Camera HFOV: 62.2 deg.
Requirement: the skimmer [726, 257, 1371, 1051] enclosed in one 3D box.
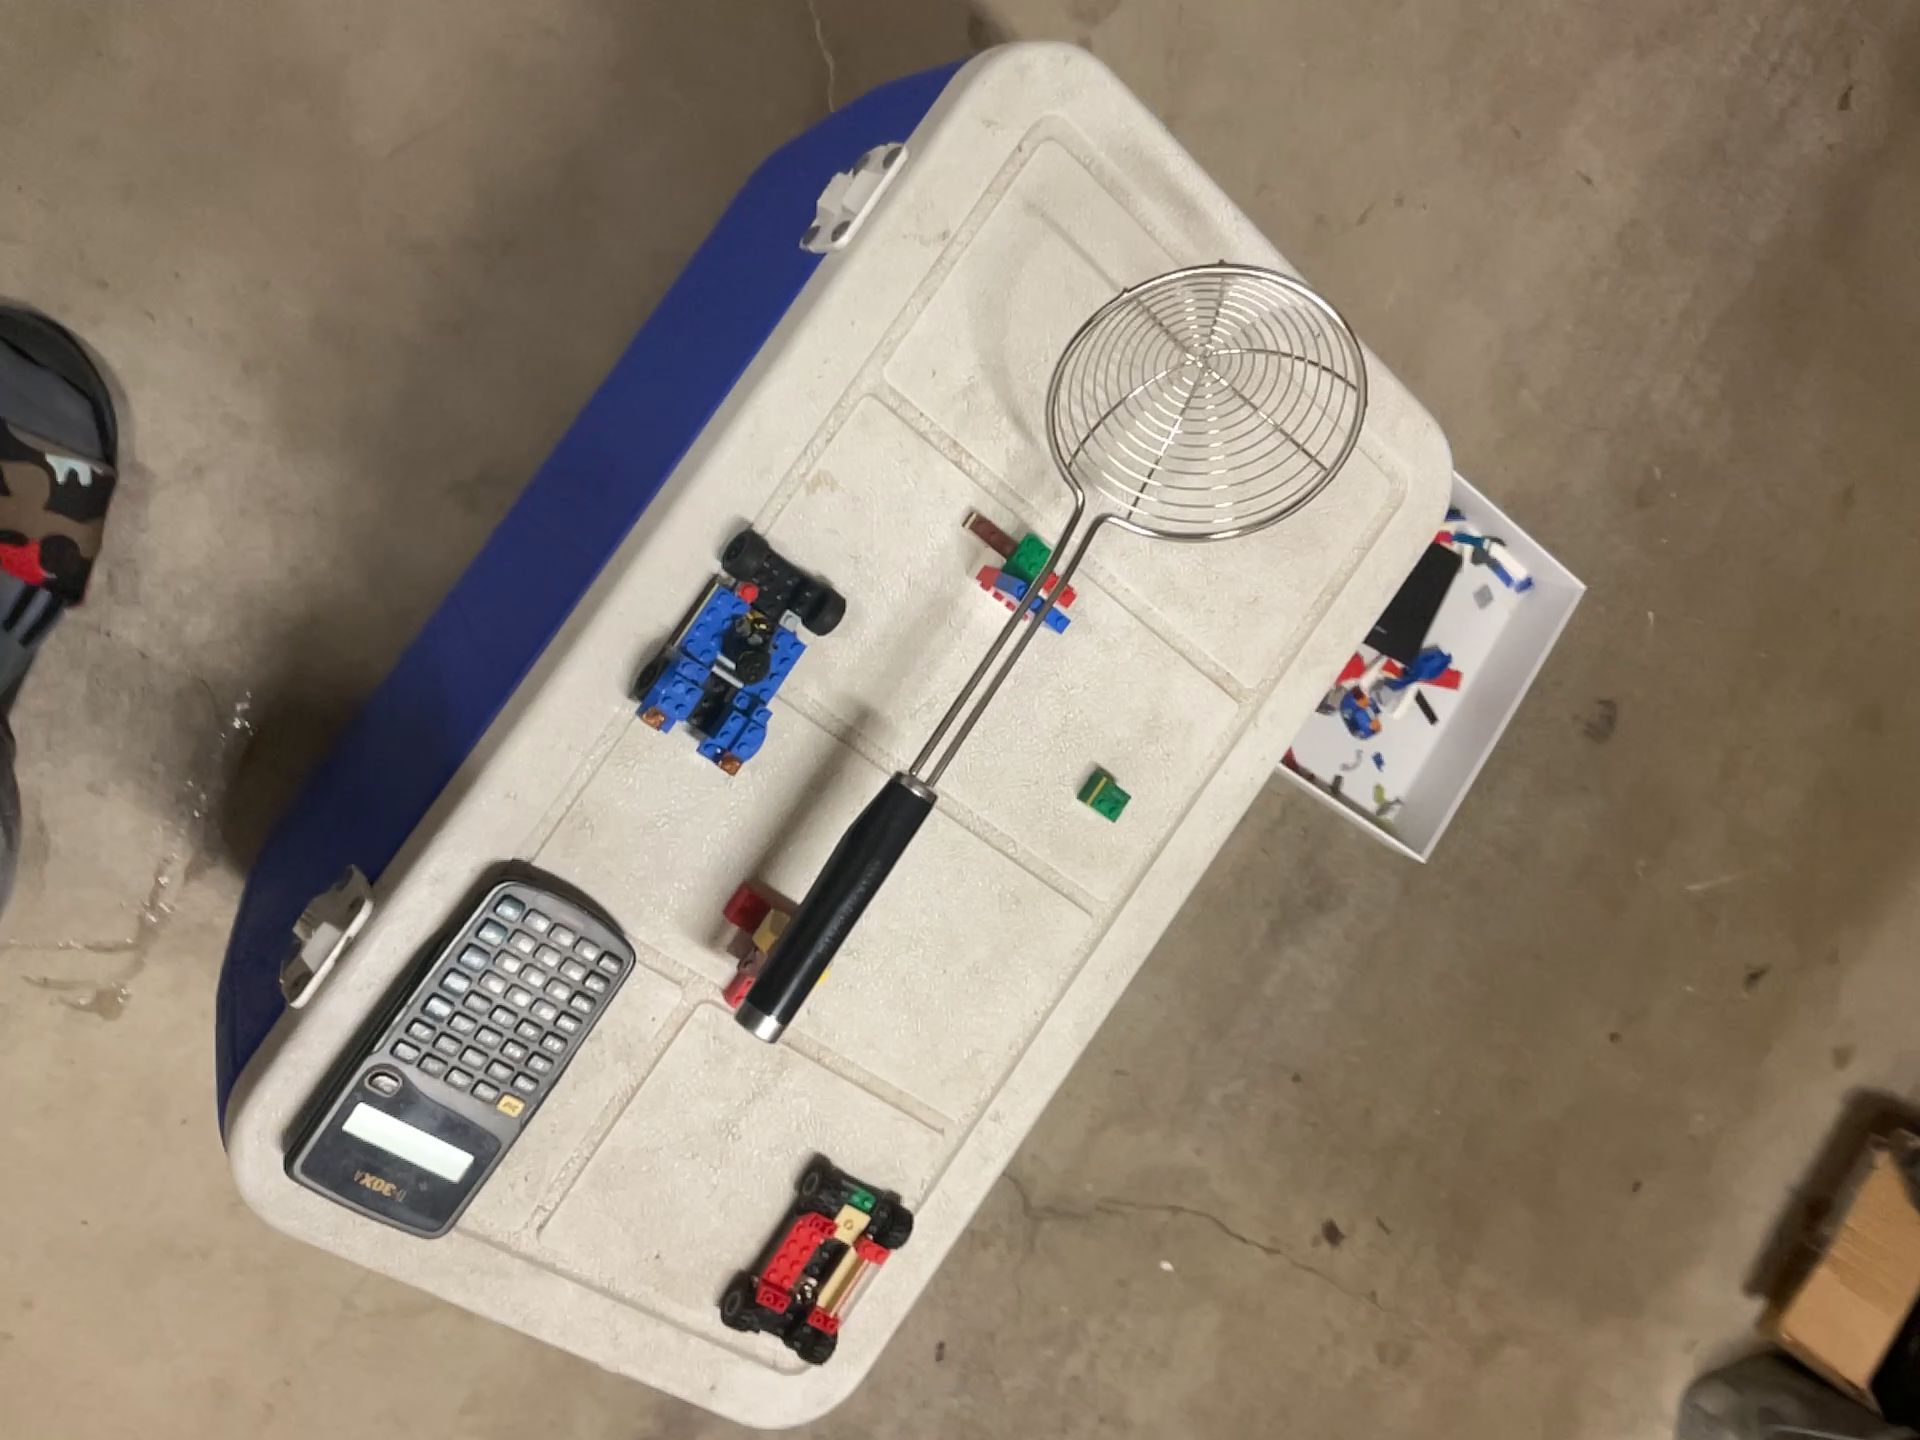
[{"bbox_3d":[0.025,-0.016,0.631,0.127,0.090,0.363,35,86,-26],"label":"skimmer"}]
